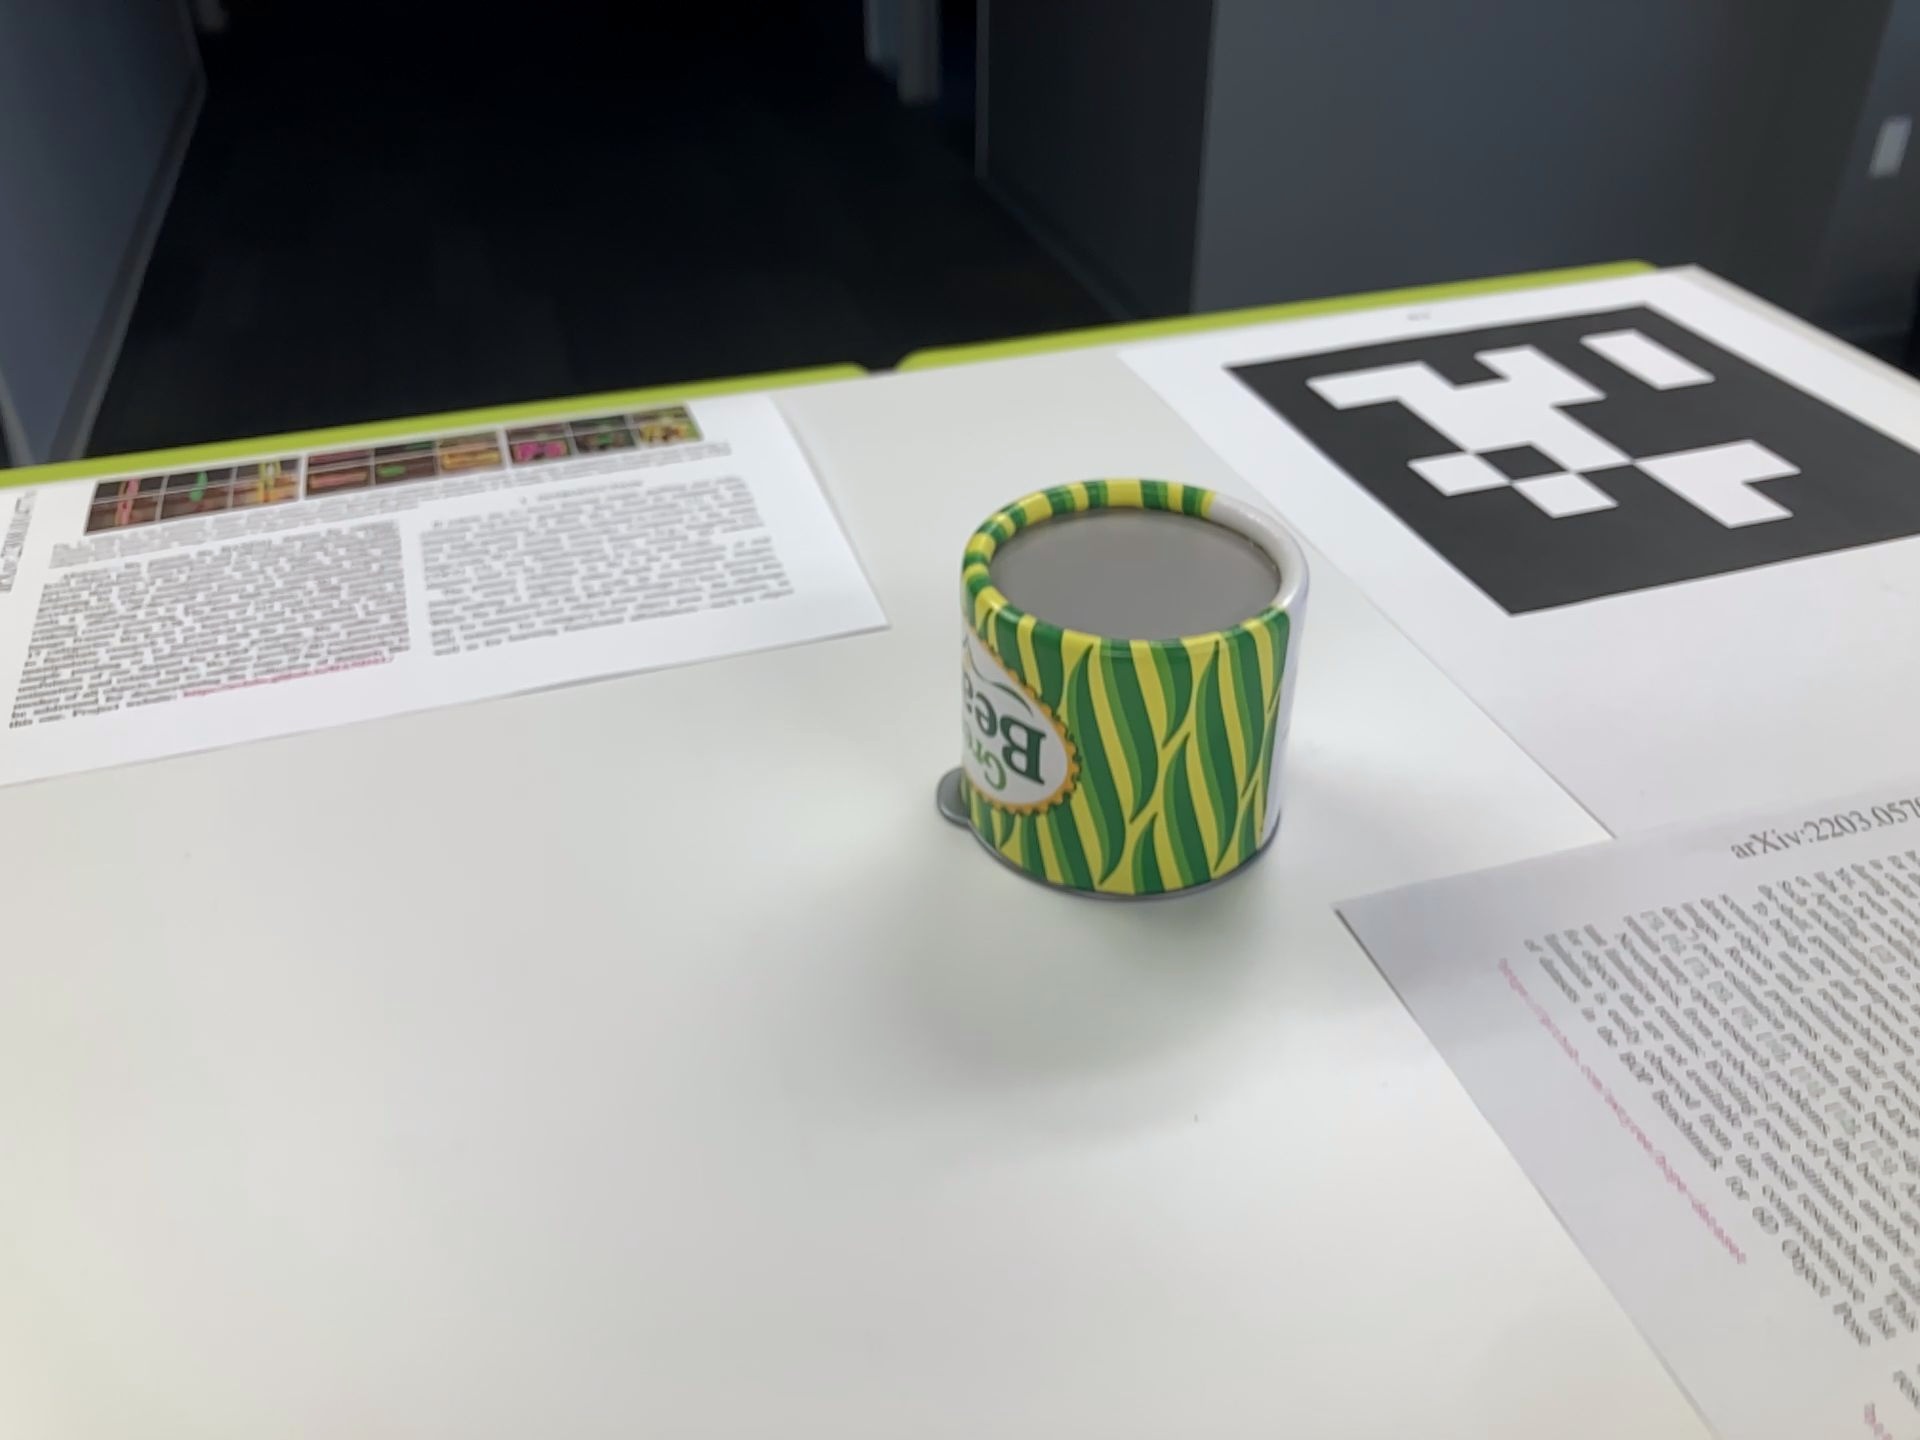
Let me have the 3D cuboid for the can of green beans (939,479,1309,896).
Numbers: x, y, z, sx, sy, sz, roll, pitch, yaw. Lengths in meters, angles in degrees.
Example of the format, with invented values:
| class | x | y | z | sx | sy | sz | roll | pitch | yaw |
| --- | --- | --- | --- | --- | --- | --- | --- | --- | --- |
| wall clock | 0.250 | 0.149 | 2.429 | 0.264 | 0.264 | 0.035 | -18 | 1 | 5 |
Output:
| class | x | y | z | sx | sy | sz | roll | pitch | yaw |
| --- | --- | --- | --- | --- | --- | --- | --- | --- | --- |
| can of green beans | 0.033 | -0.008 | 0.320 | 0.071 | 0.058 | 0.071 | 0 | 36 | 0 |
